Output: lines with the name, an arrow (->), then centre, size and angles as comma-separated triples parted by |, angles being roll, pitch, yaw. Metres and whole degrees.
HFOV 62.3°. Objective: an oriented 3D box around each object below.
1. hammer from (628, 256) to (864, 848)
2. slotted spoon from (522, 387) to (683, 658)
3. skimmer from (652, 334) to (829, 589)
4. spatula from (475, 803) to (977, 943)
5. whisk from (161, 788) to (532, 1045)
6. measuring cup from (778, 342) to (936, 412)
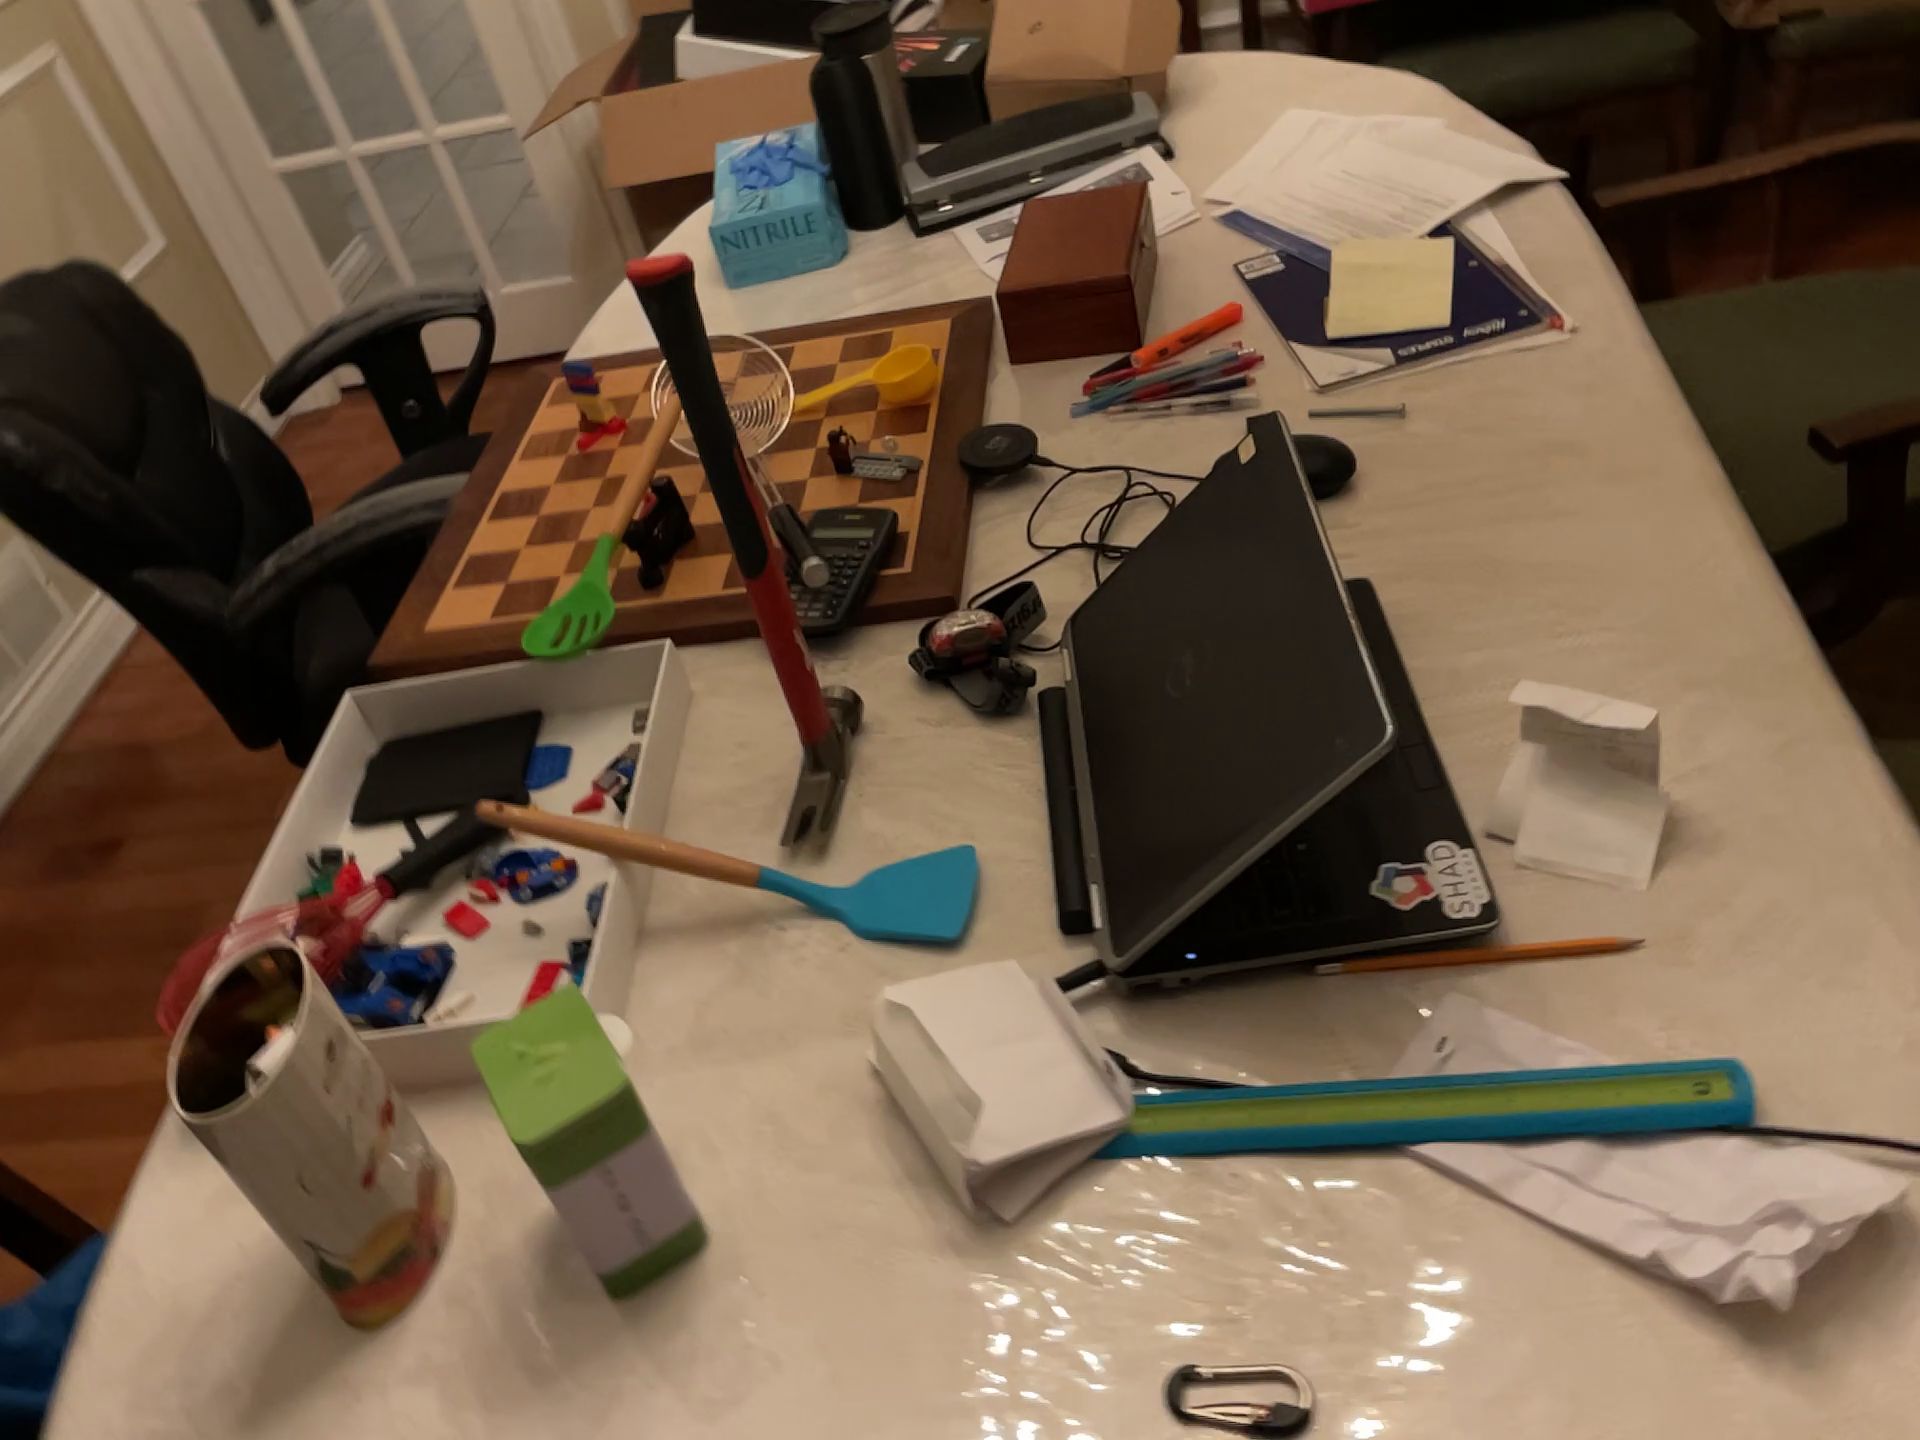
hammer -> -0.130, -0.096, 0.981 | 0.038, 0.386, 0.143 | -4, 40, 13
slotted spoon -> -0.269, -0.163, 1.270 | 0.070, 0.031, 0.314 | -1, 50, 20
skimmer -> -0.172, -0.223, 1.330 | 0.127, 0.090, 0.364 | -20, 35, -8
spatula -> -0.150, 0.086, 1.000 | 0.317, 0.044, 0.082 | 13, 44, 1
whisk -> -0.389, 0.121, 1.042 | 0.073, 0.073, 0.295 | 28, 40, 18
measuring cup -> -0.094, -0.304, 1.468 | 0.157, 0.029, 0.062 | -16, 41, 19
